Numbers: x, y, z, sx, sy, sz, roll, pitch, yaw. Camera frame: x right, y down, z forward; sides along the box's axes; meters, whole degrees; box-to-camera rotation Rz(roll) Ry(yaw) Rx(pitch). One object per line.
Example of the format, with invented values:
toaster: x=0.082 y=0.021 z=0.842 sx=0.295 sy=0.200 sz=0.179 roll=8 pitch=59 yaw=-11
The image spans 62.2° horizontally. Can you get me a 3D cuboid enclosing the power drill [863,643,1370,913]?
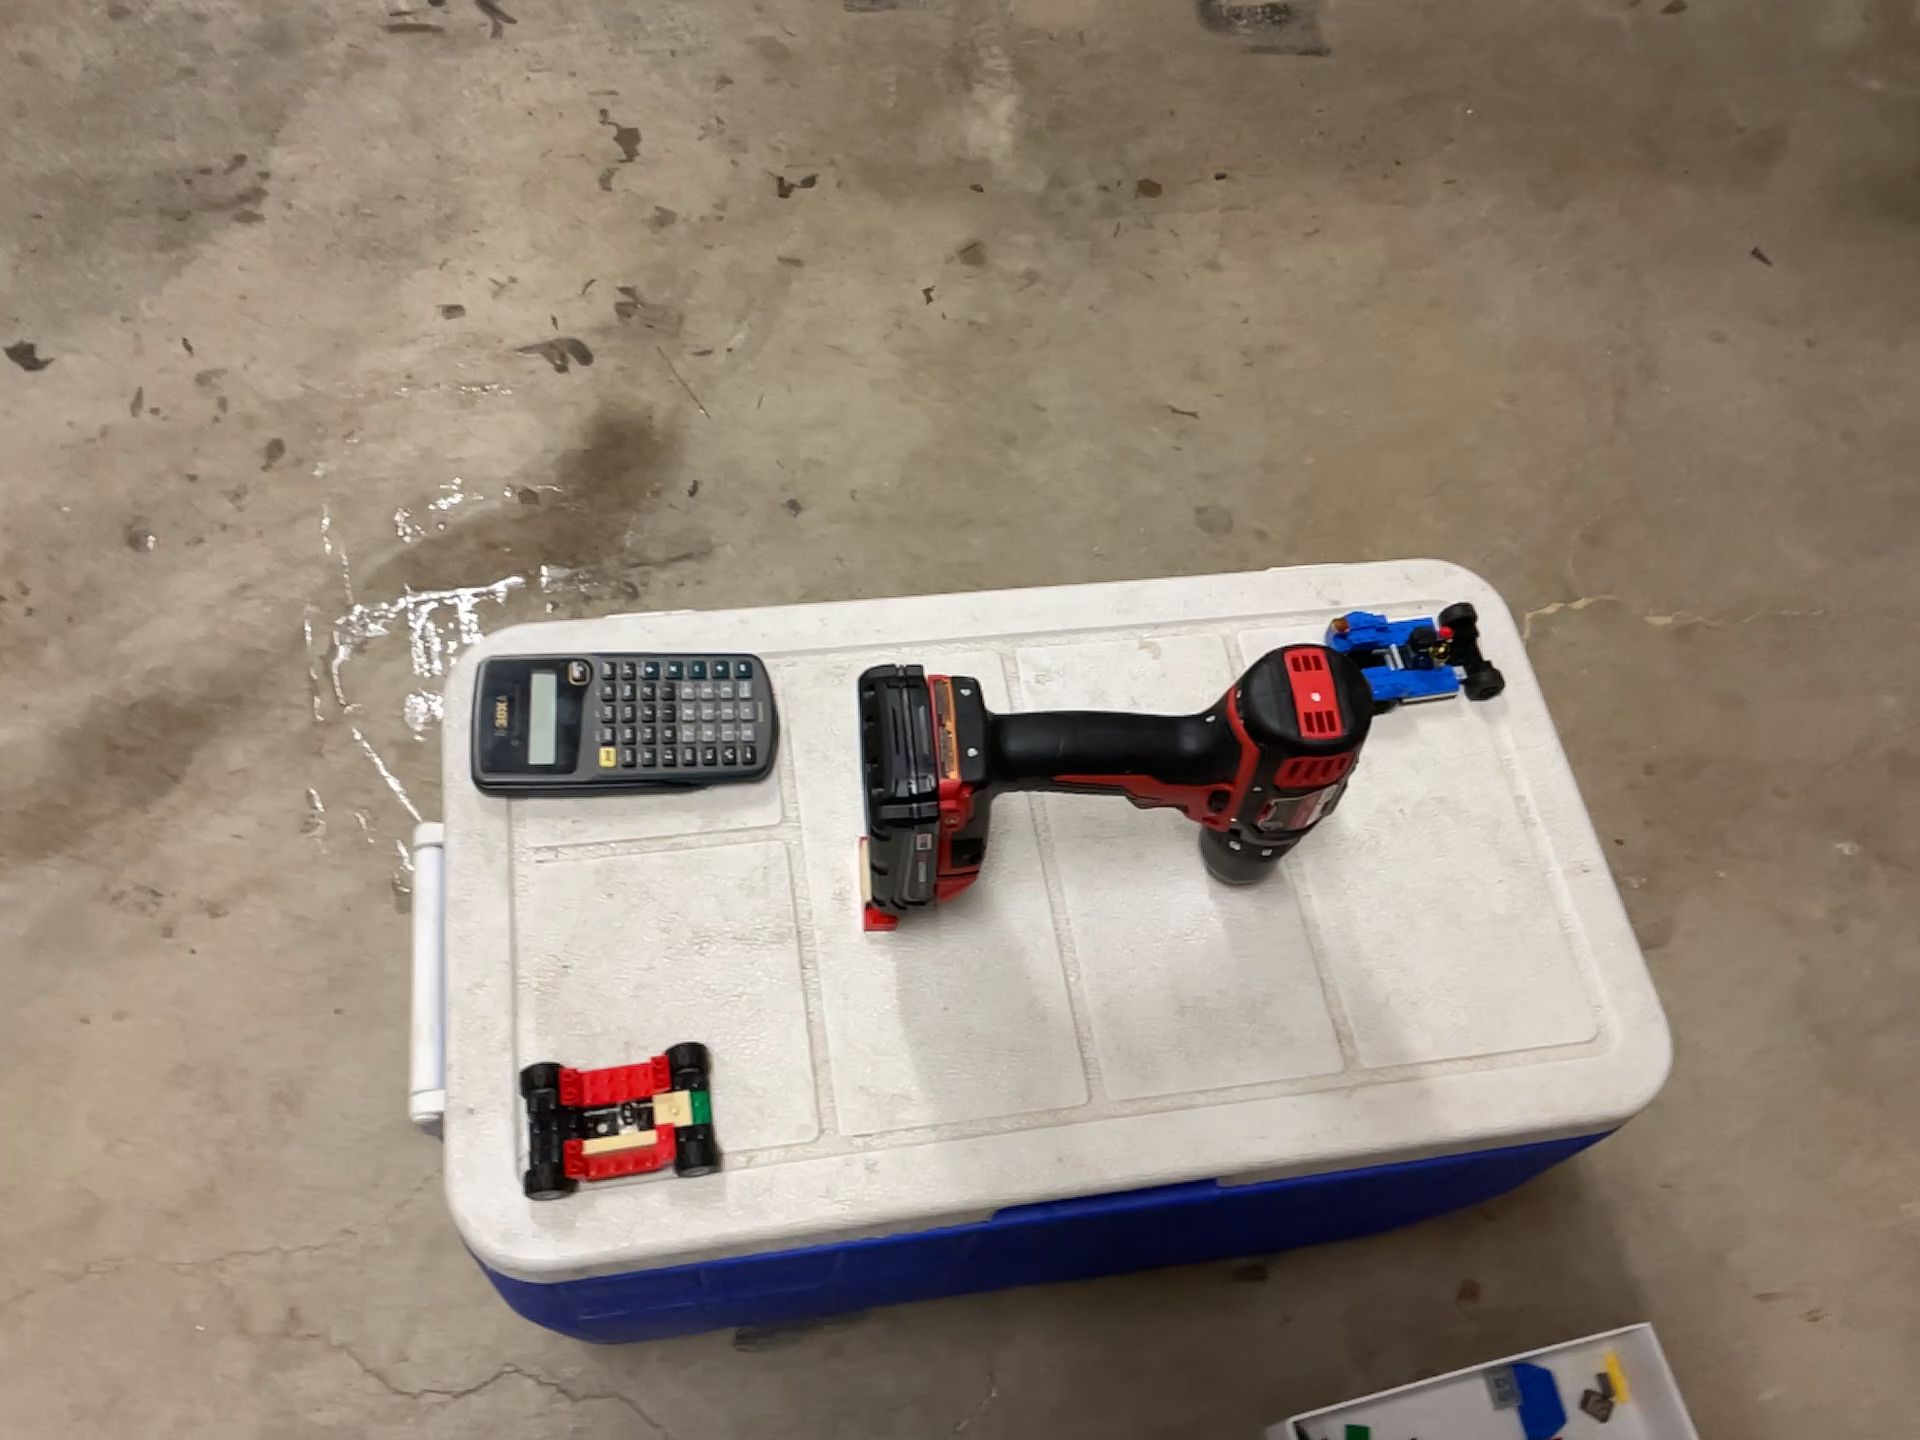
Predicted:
power drill: x=0.070 y=0.037 z=0.763 sx=0.227 sy=0.187 sz=0.080 roll=-4 pitch=60 yaw=-4
